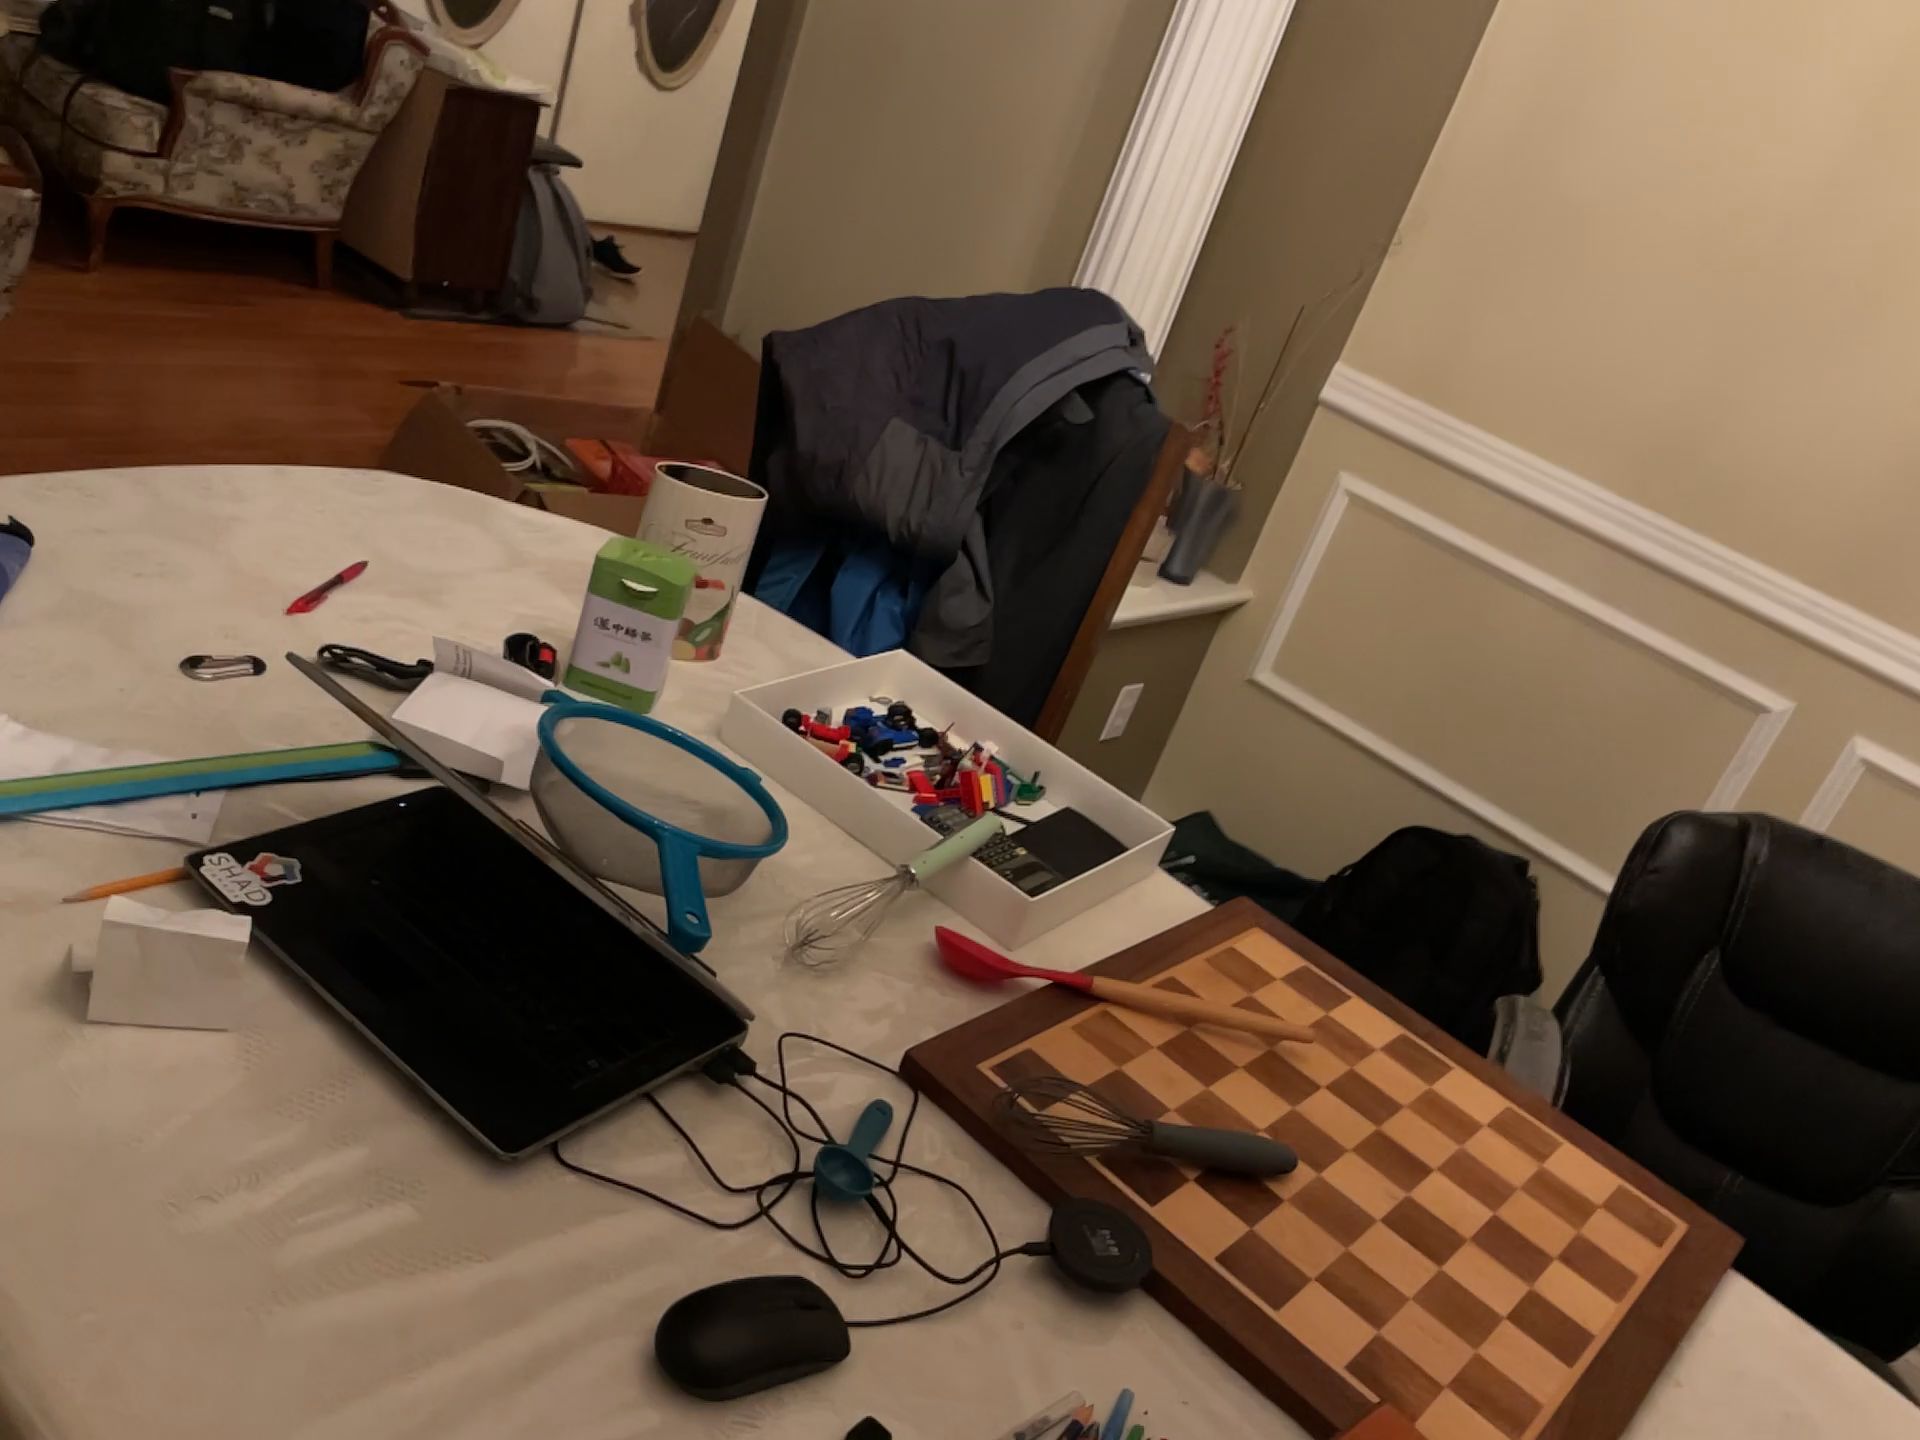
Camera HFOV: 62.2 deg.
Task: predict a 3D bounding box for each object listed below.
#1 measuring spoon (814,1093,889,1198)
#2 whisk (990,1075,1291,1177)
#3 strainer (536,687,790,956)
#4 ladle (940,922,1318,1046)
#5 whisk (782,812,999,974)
[{"bbox_3d":[-0.068,0.278,1.040,0.042,0.021,0.128,30,13,3],"label":"measuring spoon"},{"bbox_3d":[0.128,0.289,1.103,0.238,0.055,0.055,16,38,-19],"label":"whisk"},{"bbox_3d":[-0.229,0.103,1.169,0.210,0.095,0.341,25,16,-24],"label":"strainer"},{"bbox_3d":[0.133,0.216,1.270,0.315,0.031,0.069,15,3,-2],"label":"ladle"},{"bbox_3d":[-0.049,0.130,1.273,0.246,0.058,0.059,-30,84,-43],"label":"whisk"}]
